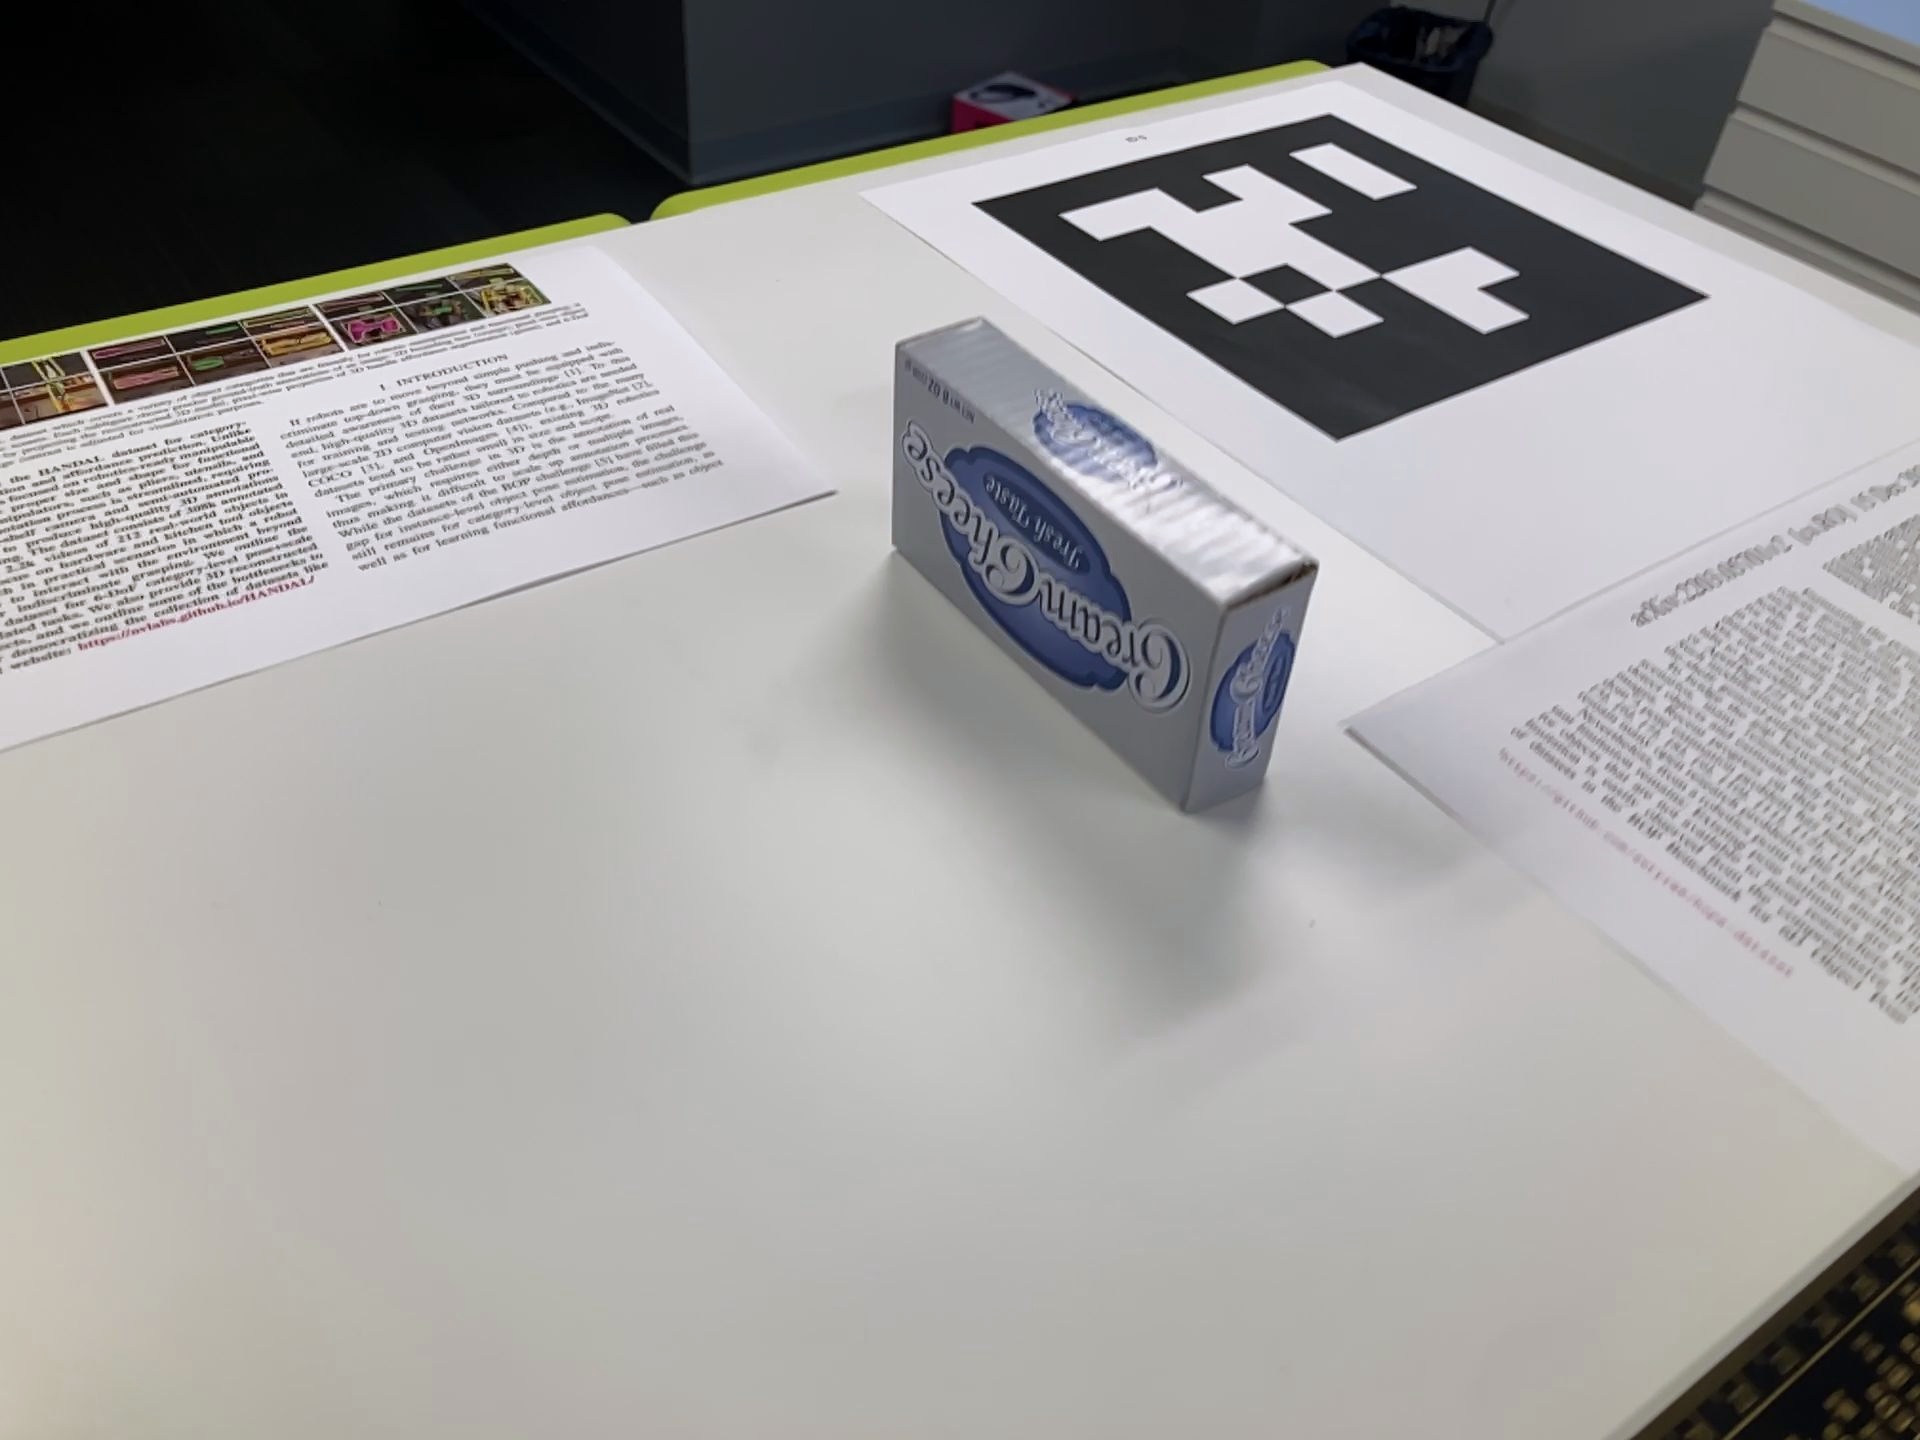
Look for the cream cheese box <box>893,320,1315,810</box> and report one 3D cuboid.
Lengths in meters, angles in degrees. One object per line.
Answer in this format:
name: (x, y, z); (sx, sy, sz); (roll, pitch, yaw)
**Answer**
cream cheese box: (0.024, -0.034, 0.321); (0.024, 0.053, 0.104); (-25, 49, -26)
